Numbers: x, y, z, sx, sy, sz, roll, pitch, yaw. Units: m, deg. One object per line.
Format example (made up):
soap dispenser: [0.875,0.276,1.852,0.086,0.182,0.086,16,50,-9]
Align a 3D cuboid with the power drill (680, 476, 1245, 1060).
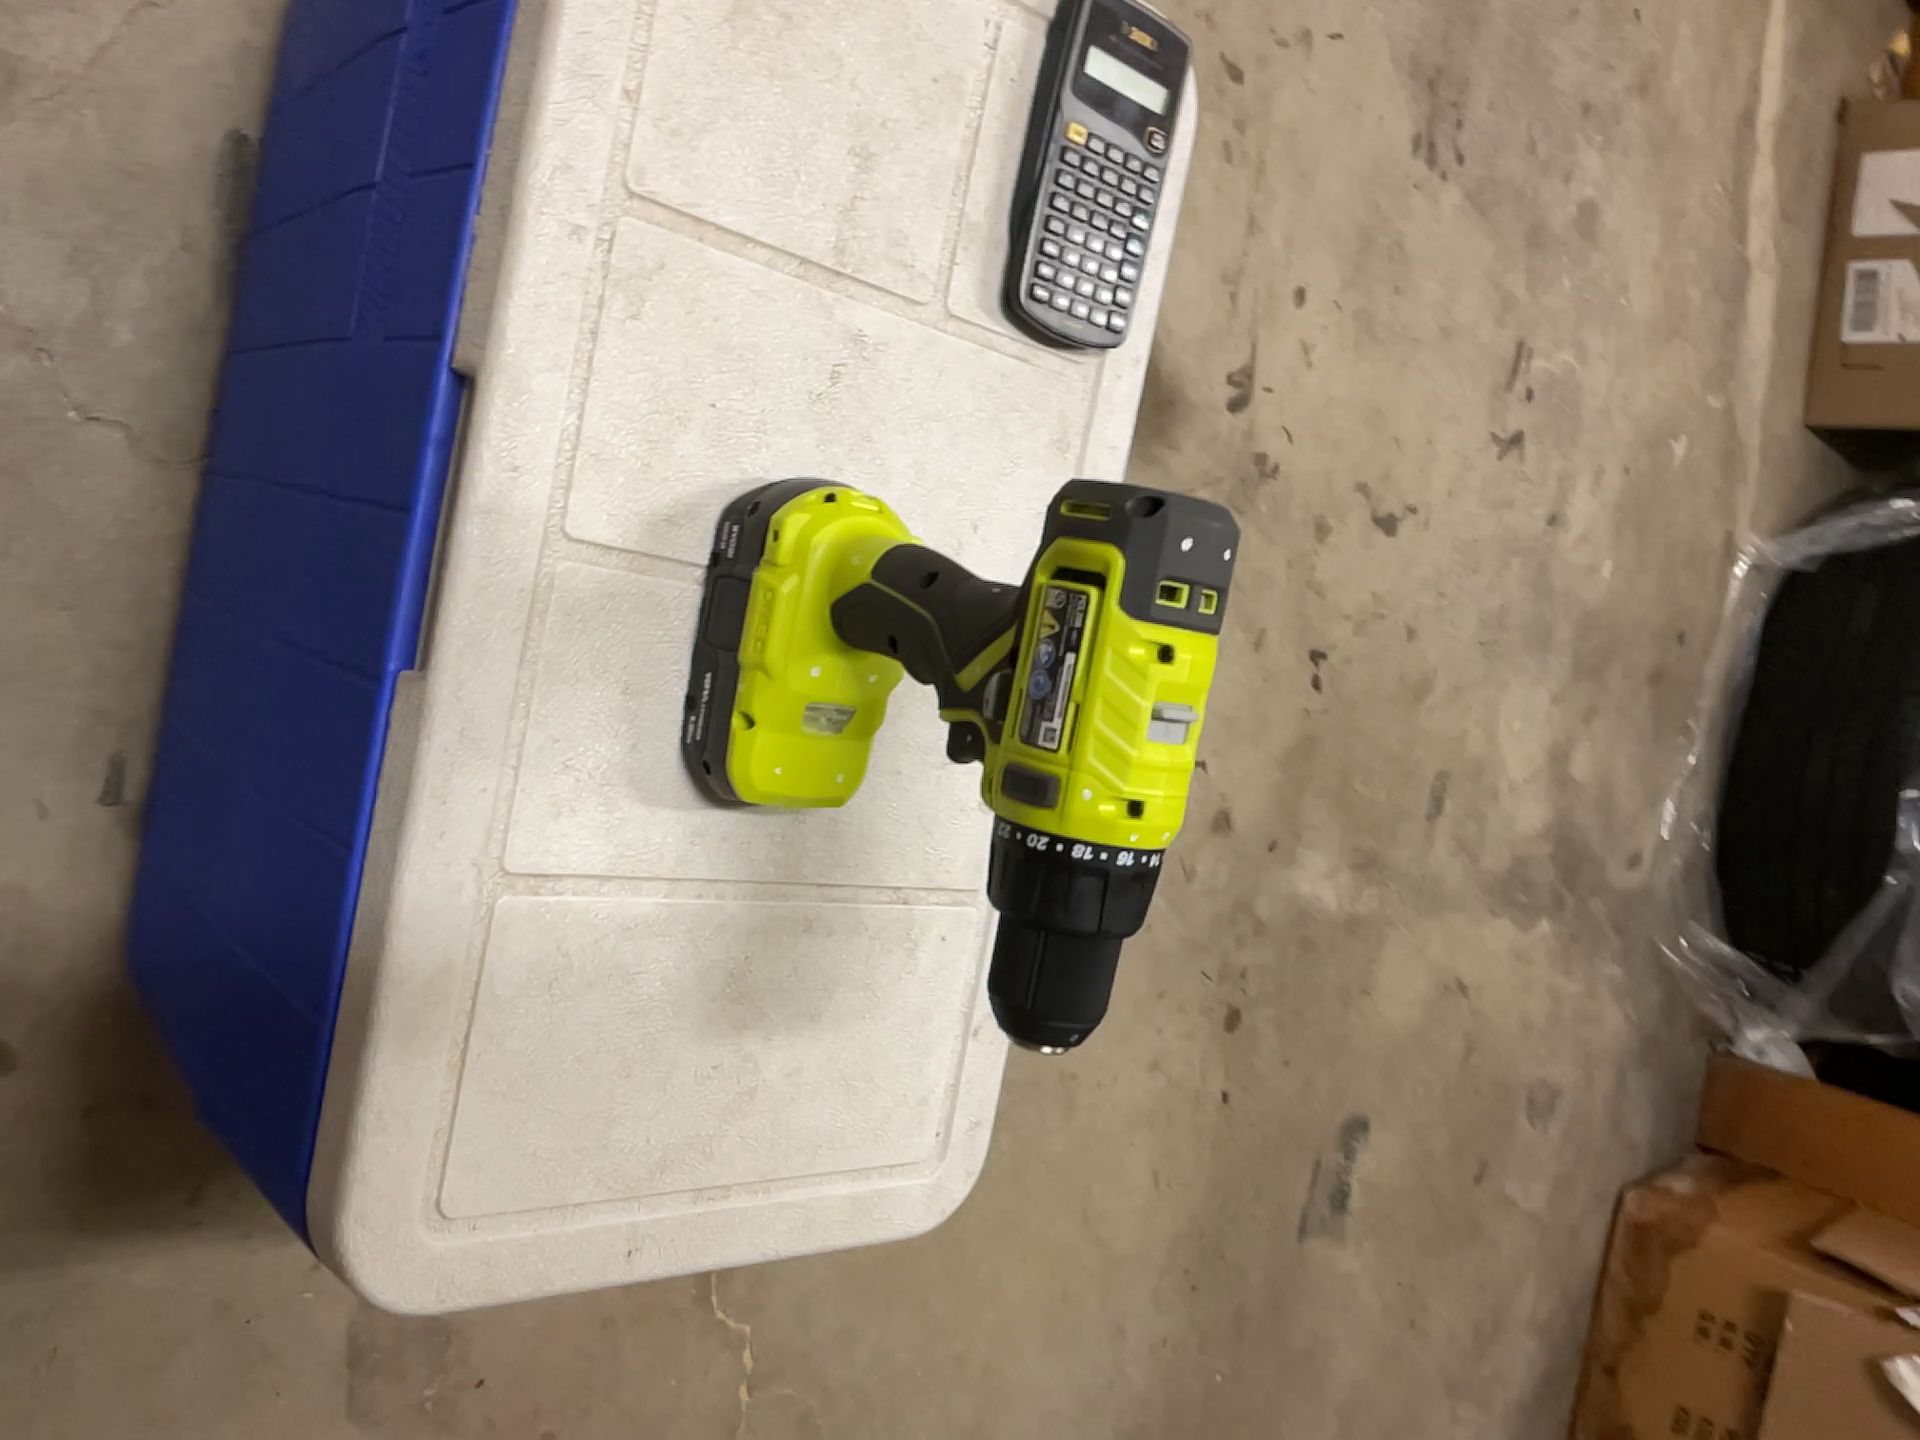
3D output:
power drill: [-0.008,0.002,0.588,0.080,0.228,0.190,7,97,-43]
